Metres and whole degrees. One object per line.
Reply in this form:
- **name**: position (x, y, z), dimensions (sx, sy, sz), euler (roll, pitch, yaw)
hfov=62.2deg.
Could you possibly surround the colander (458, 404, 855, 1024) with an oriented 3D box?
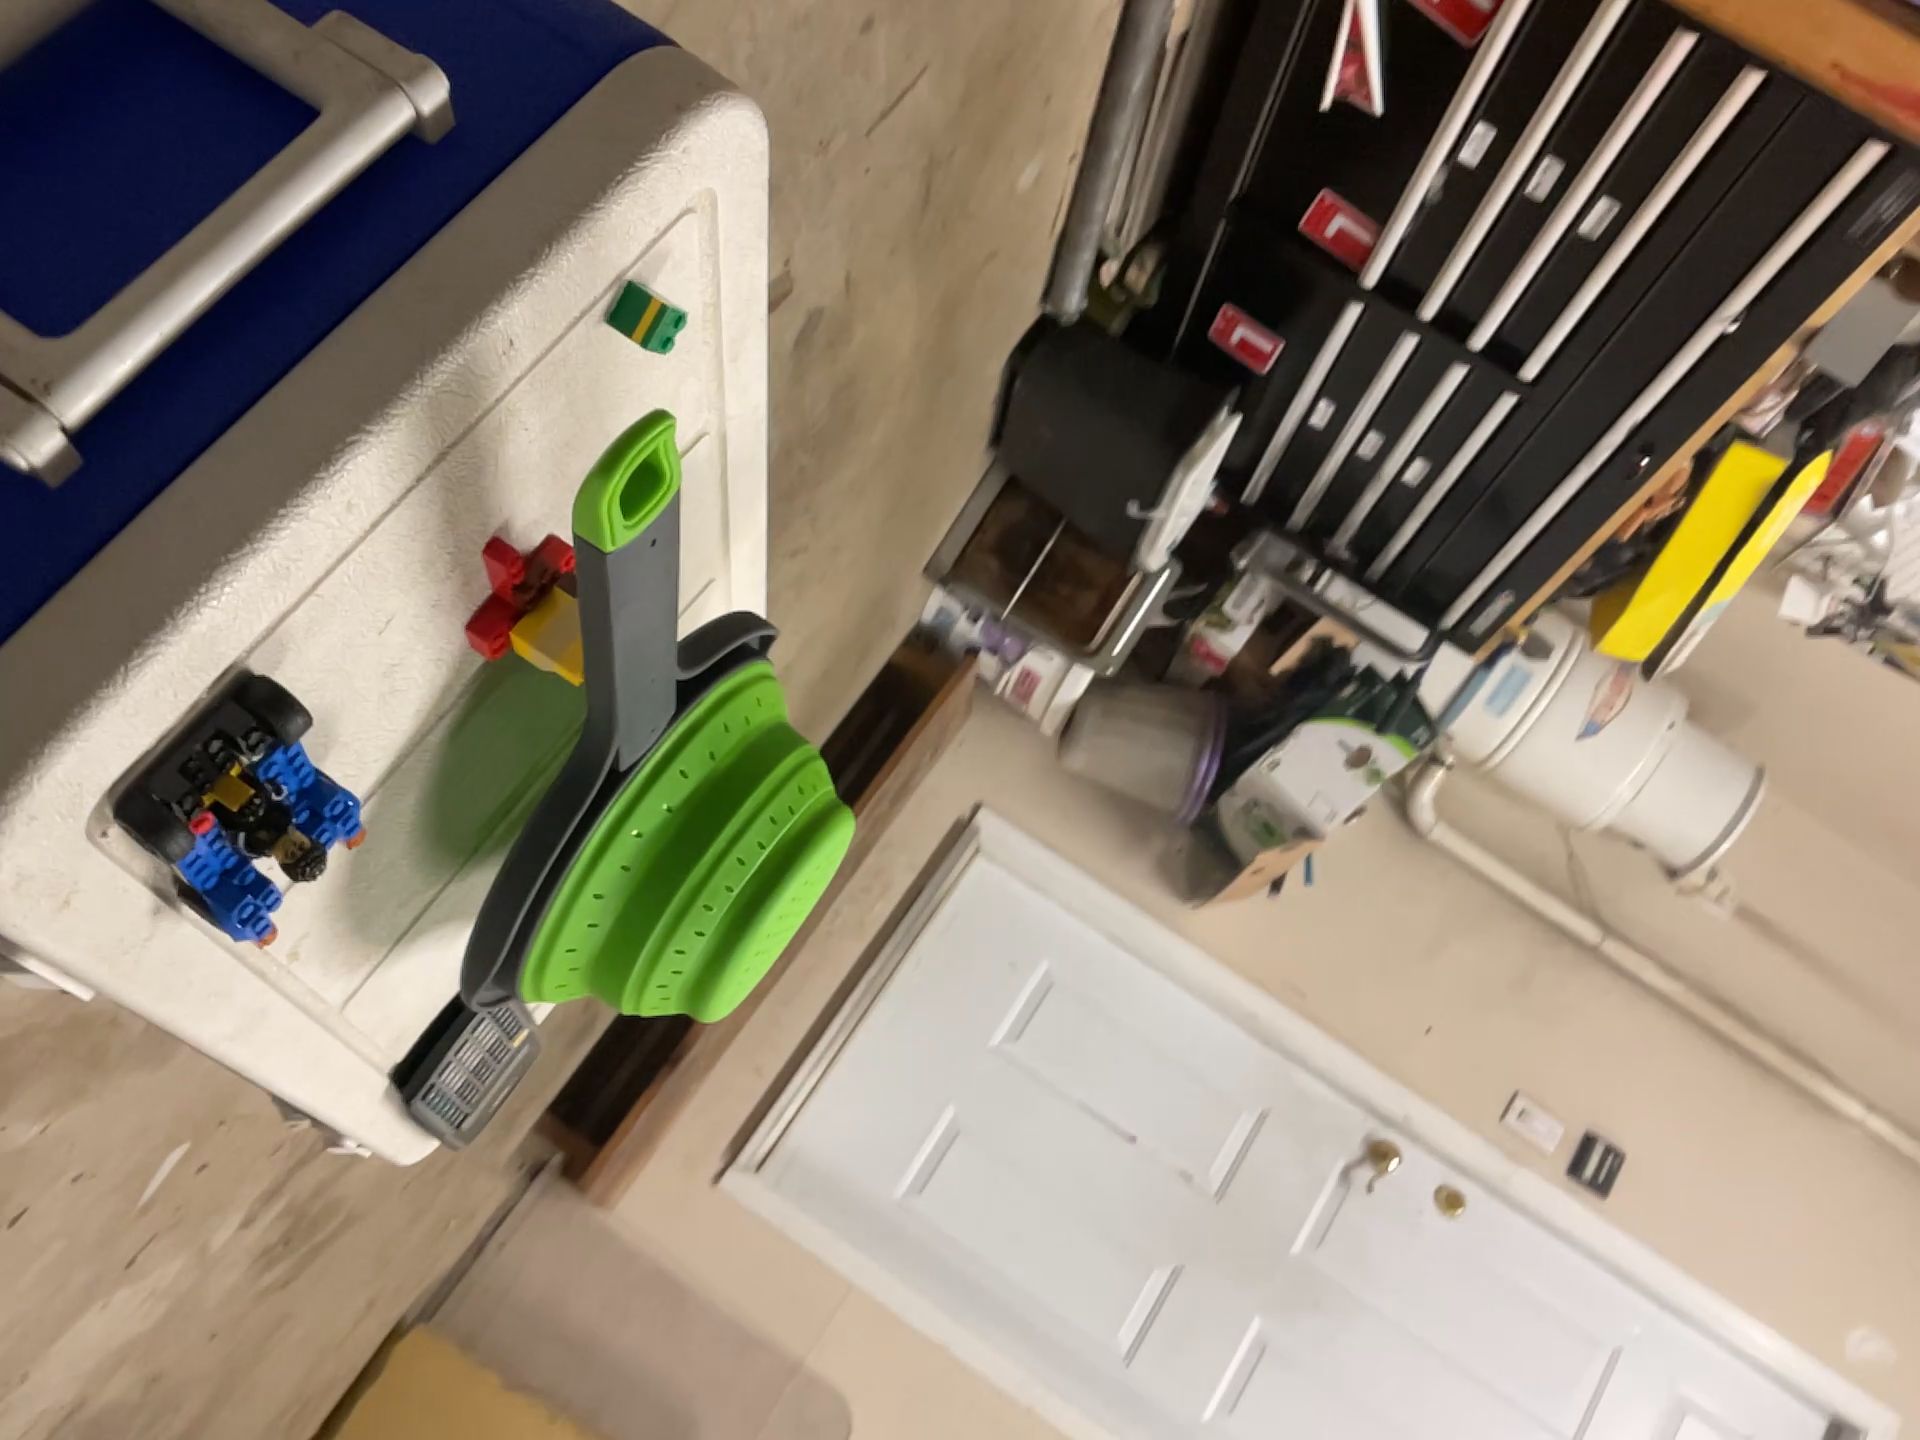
- **colander**: position (-0.096, 0.025, 0.607), dimensions (0.205, 0.094, 0.396), euler (-54, 174, -27)
